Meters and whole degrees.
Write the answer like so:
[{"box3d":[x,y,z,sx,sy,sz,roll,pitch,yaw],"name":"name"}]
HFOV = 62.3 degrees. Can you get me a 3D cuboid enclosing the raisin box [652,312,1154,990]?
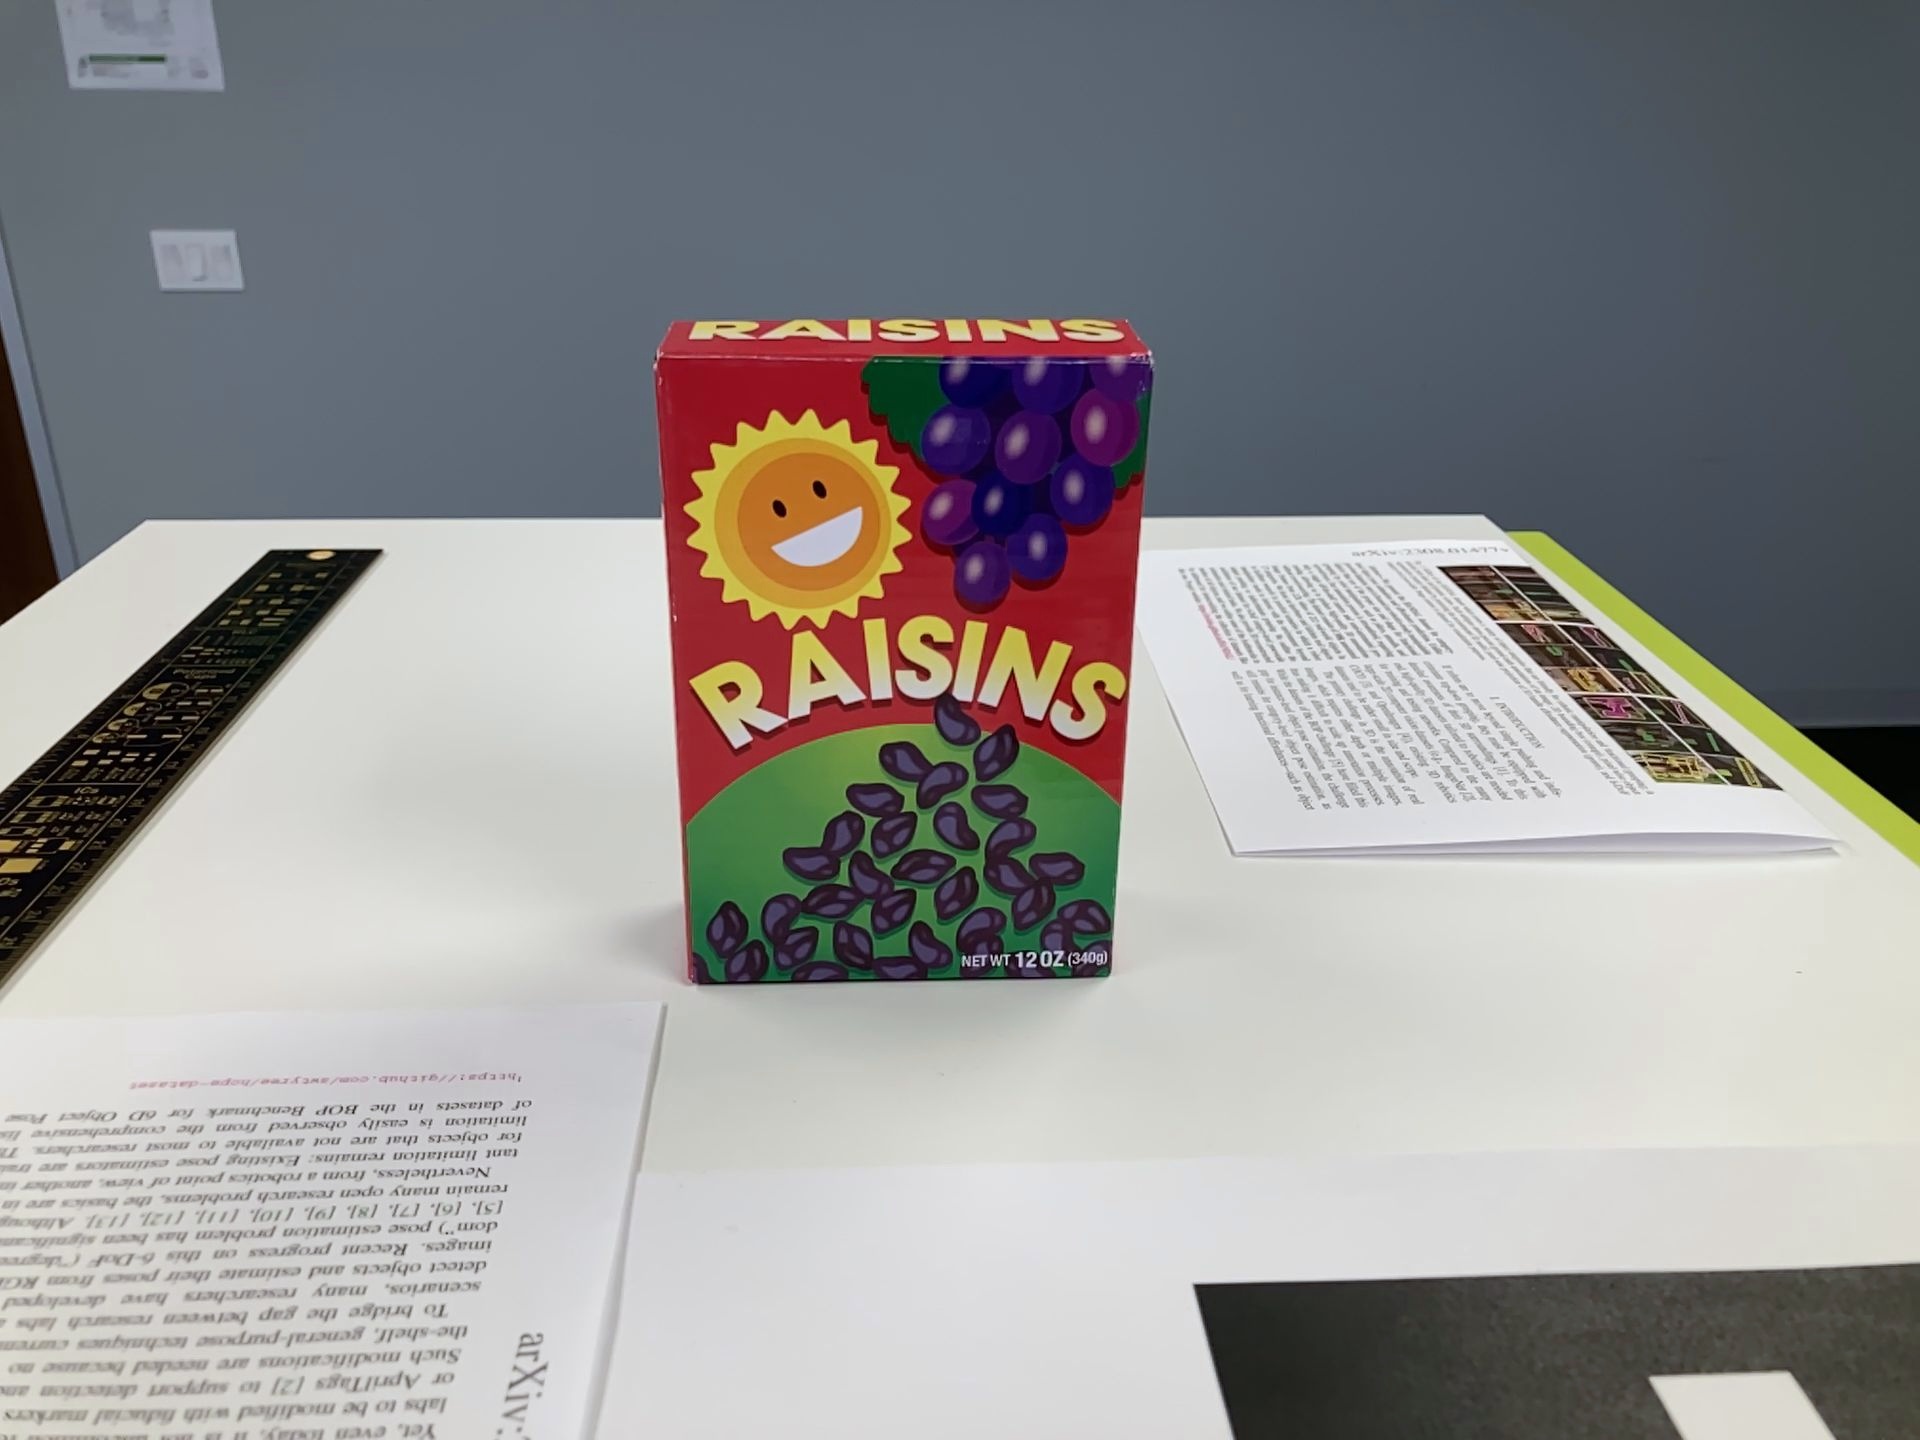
[{"box3d":[-0.011,-0.012,0.300,0.086,0.123,0.040,0,23,-3],"name":"raisin box"}]
